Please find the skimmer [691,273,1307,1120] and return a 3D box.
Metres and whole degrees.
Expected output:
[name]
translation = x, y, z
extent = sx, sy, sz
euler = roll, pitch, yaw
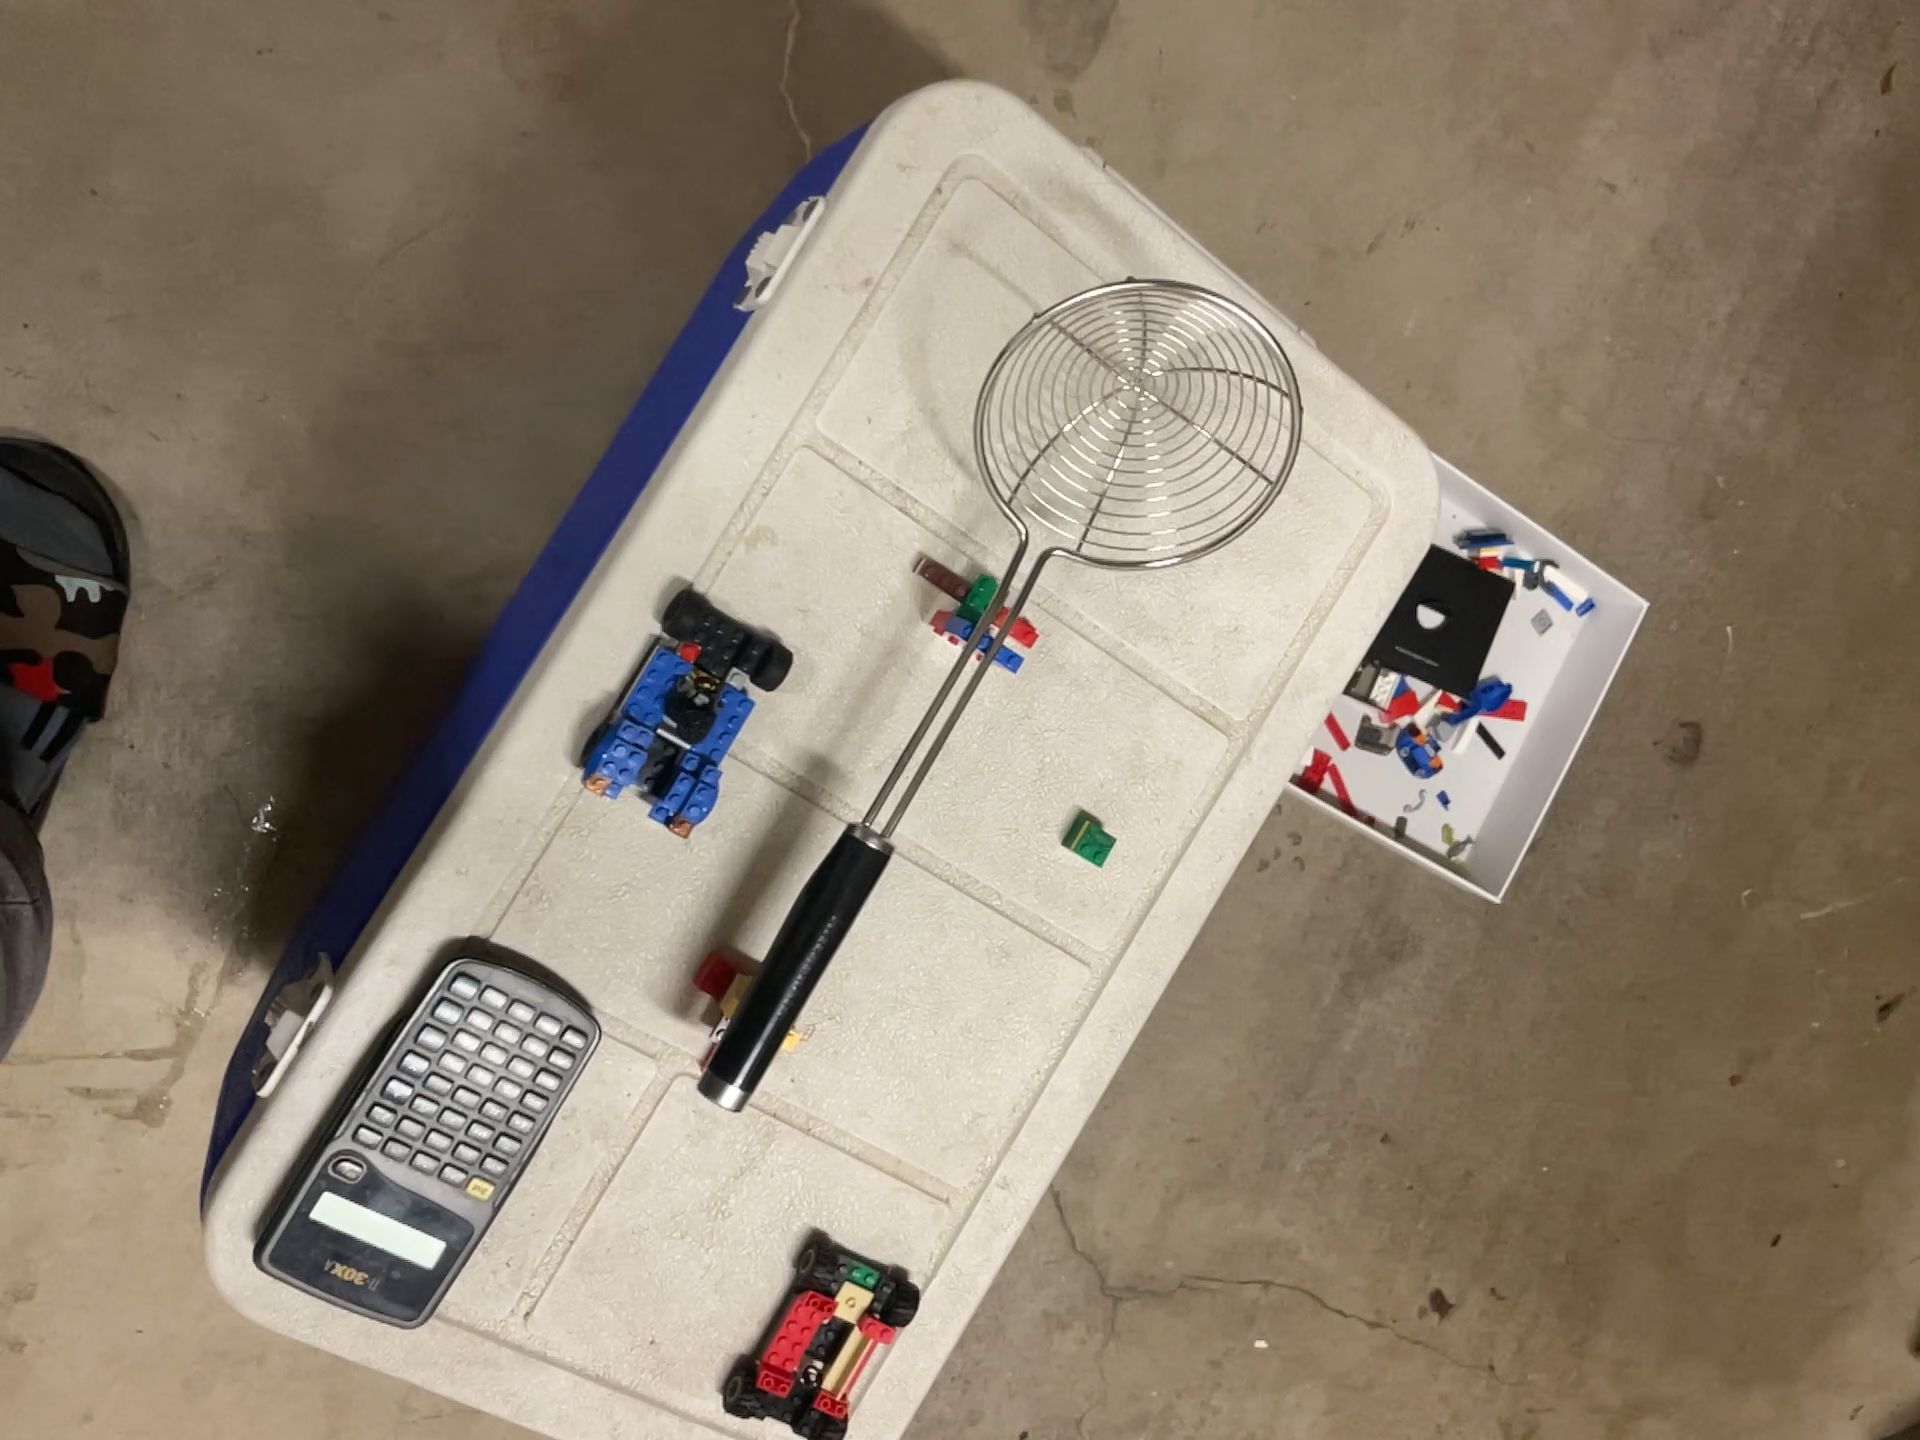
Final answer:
[skimmer]
translation = 0.002, 0.000, 0.613
extent = 0.127, 0.090, 0.363
euler = 32, 86, -20
